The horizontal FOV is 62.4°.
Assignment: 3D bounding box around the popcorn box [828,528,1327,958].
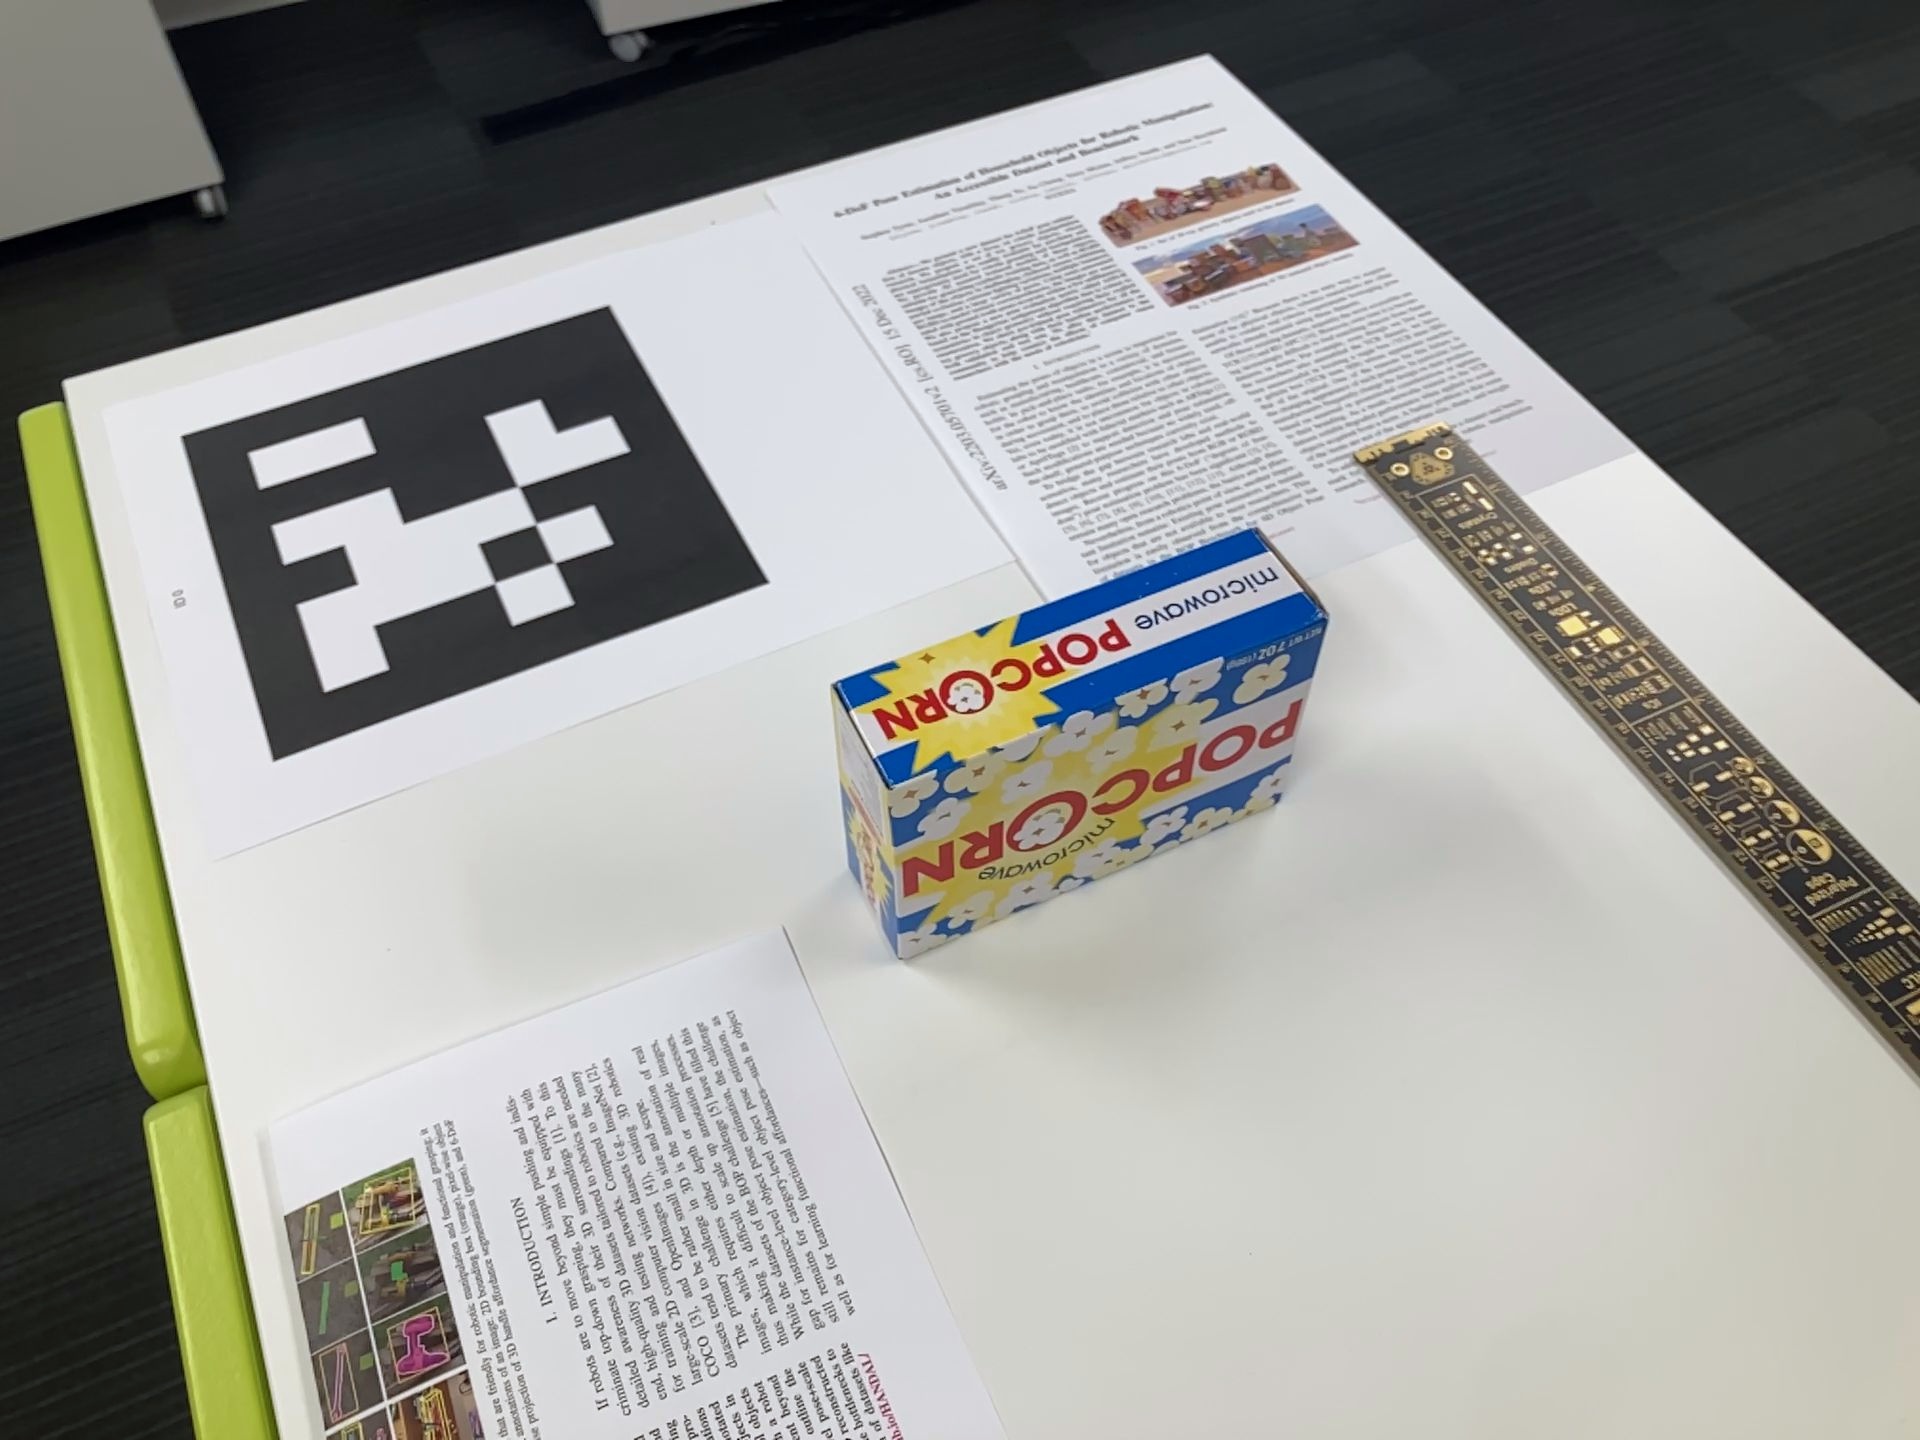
[{"bbox_3d":[0.032,0.007,0.432,0.126,0.085,0.038,-21,56,-15],"label":"popcorn box"}]
